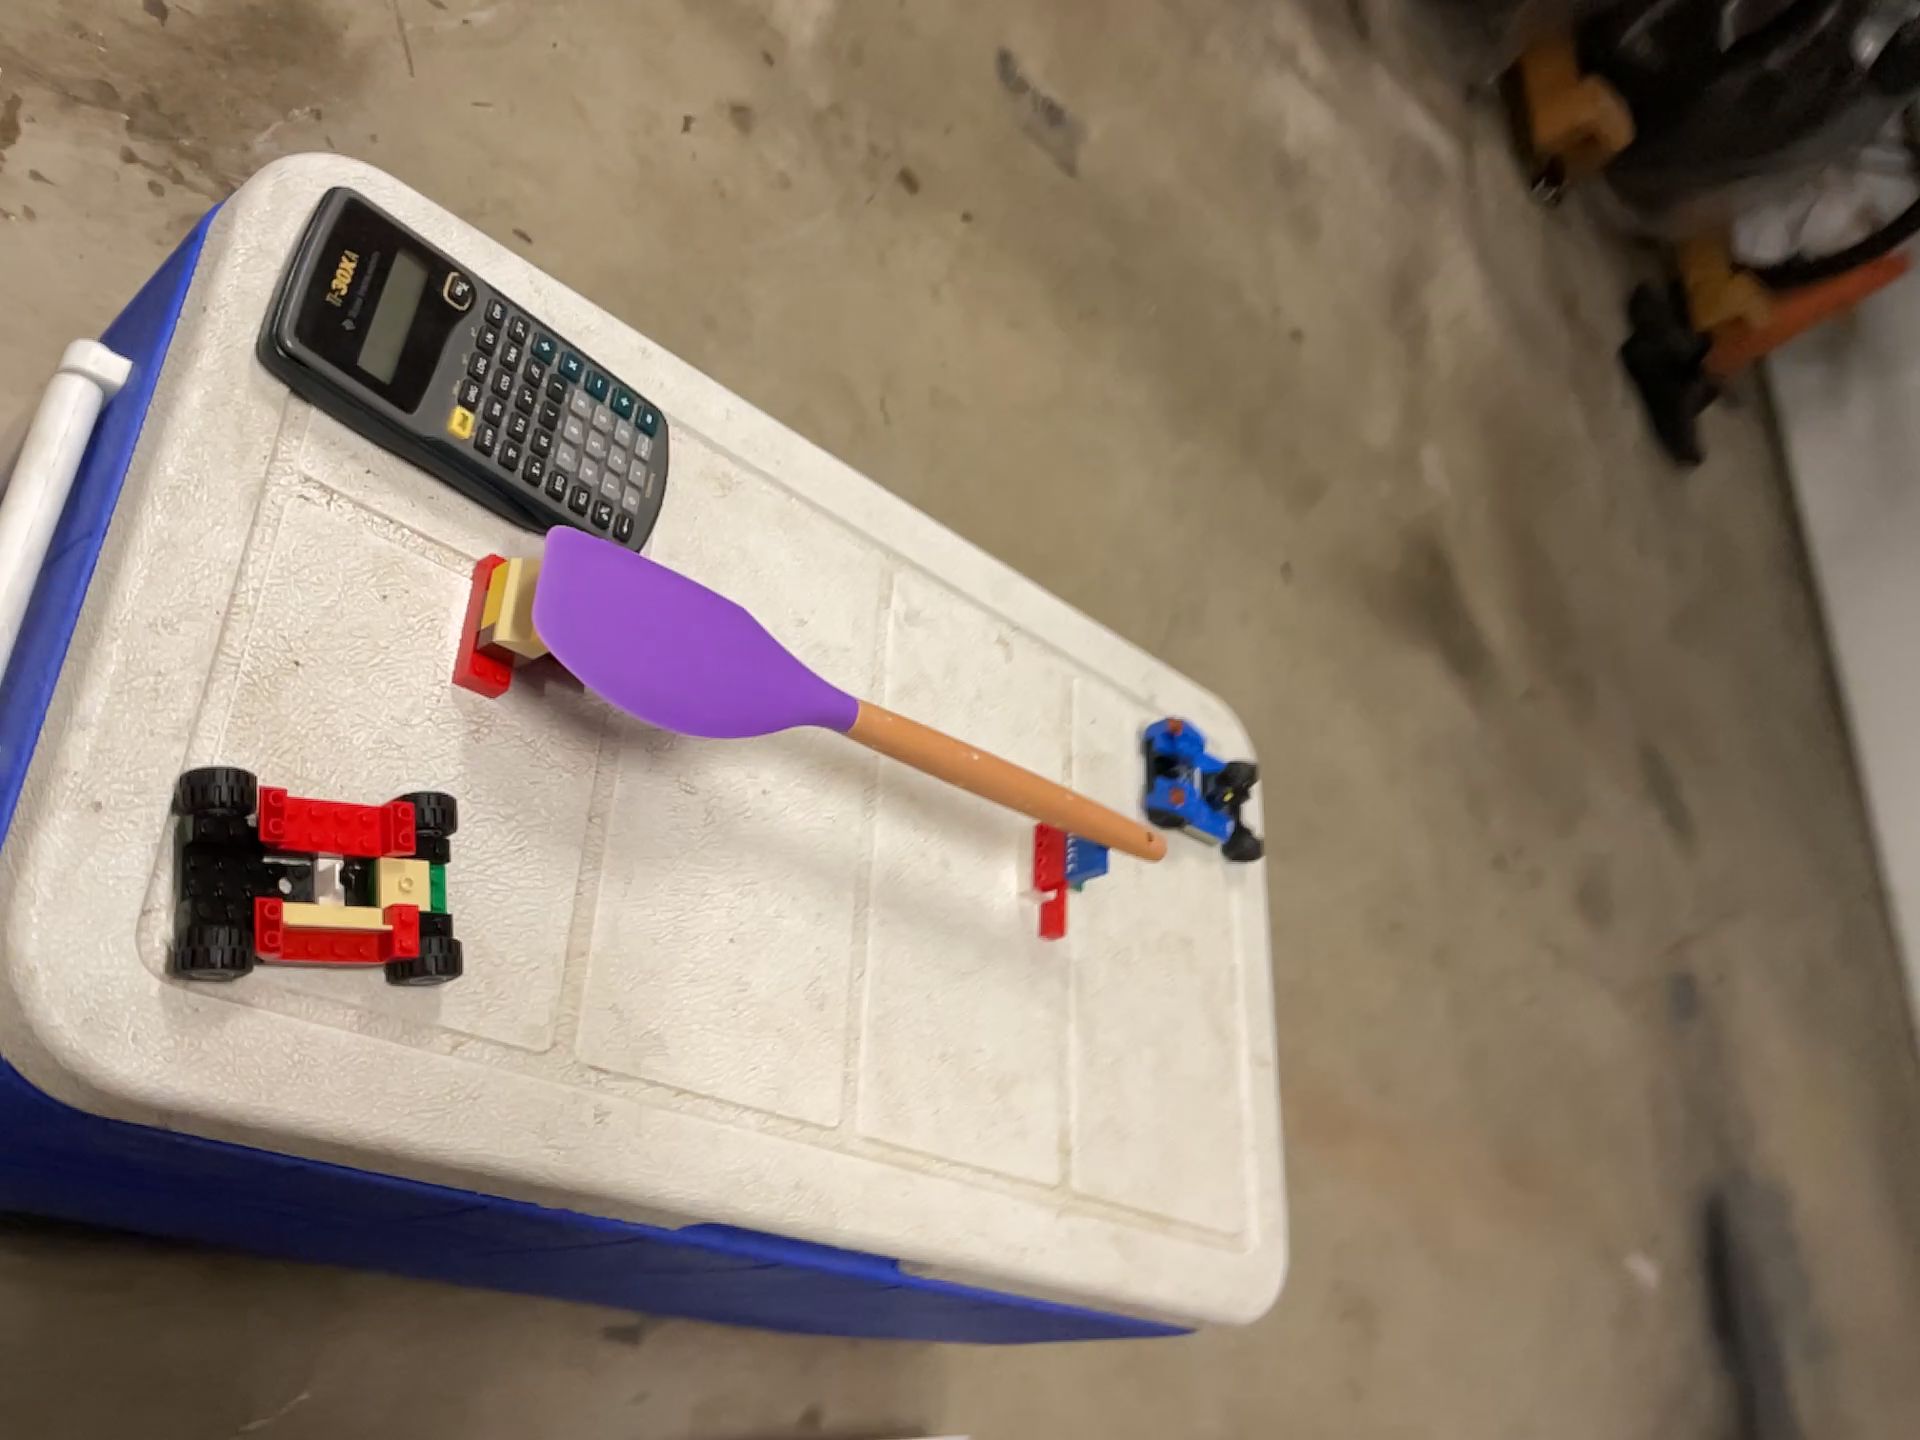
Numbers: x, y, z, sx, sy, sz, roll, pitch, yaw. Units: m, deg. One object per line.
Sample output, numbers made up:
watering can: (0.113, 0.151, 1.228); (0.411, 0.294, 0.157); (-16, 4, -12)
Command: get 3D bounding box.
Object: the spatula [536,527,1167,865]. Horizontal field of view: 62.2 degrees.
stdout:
spatula: (-0.024, 0.009, 0.613); (0.316, 0.018, 0.060); (24, 55, -39)
